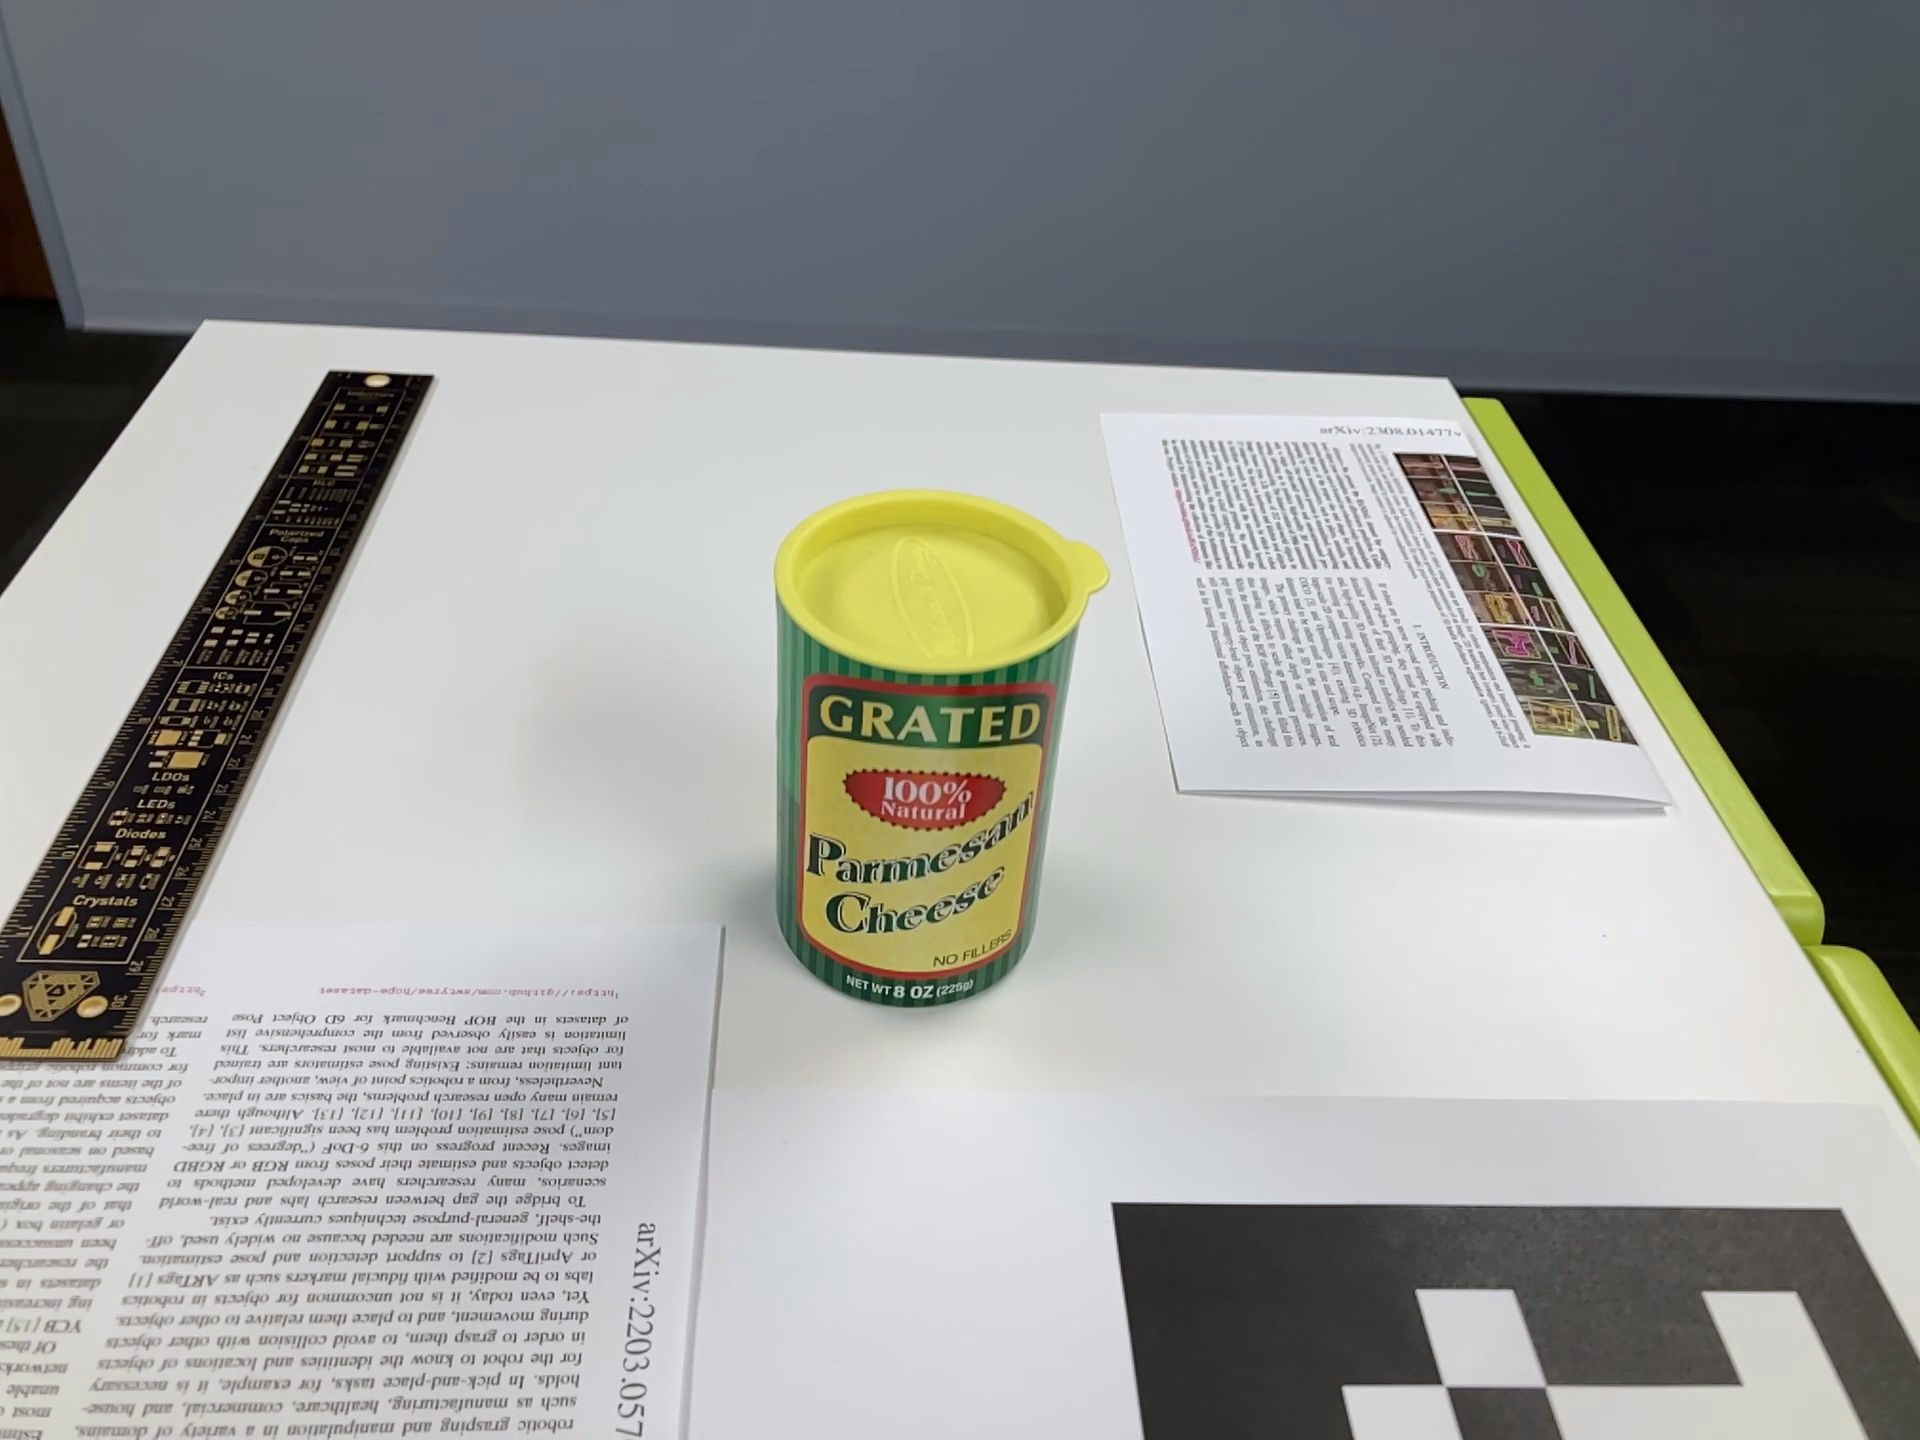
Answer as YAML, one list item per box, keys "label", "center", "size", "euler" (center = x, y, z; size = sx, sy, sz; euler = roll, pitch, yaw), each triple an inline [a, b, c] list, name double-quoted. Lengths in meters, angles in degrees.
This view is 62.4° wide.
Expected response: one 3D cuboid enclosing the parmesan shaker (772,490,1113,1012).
- label: "parmesan shaker"
  center: [-0.007, 0.009, 0.361]
  size: [0.071, 0.103, 0.071]
  euler: [3, 39, -2]
